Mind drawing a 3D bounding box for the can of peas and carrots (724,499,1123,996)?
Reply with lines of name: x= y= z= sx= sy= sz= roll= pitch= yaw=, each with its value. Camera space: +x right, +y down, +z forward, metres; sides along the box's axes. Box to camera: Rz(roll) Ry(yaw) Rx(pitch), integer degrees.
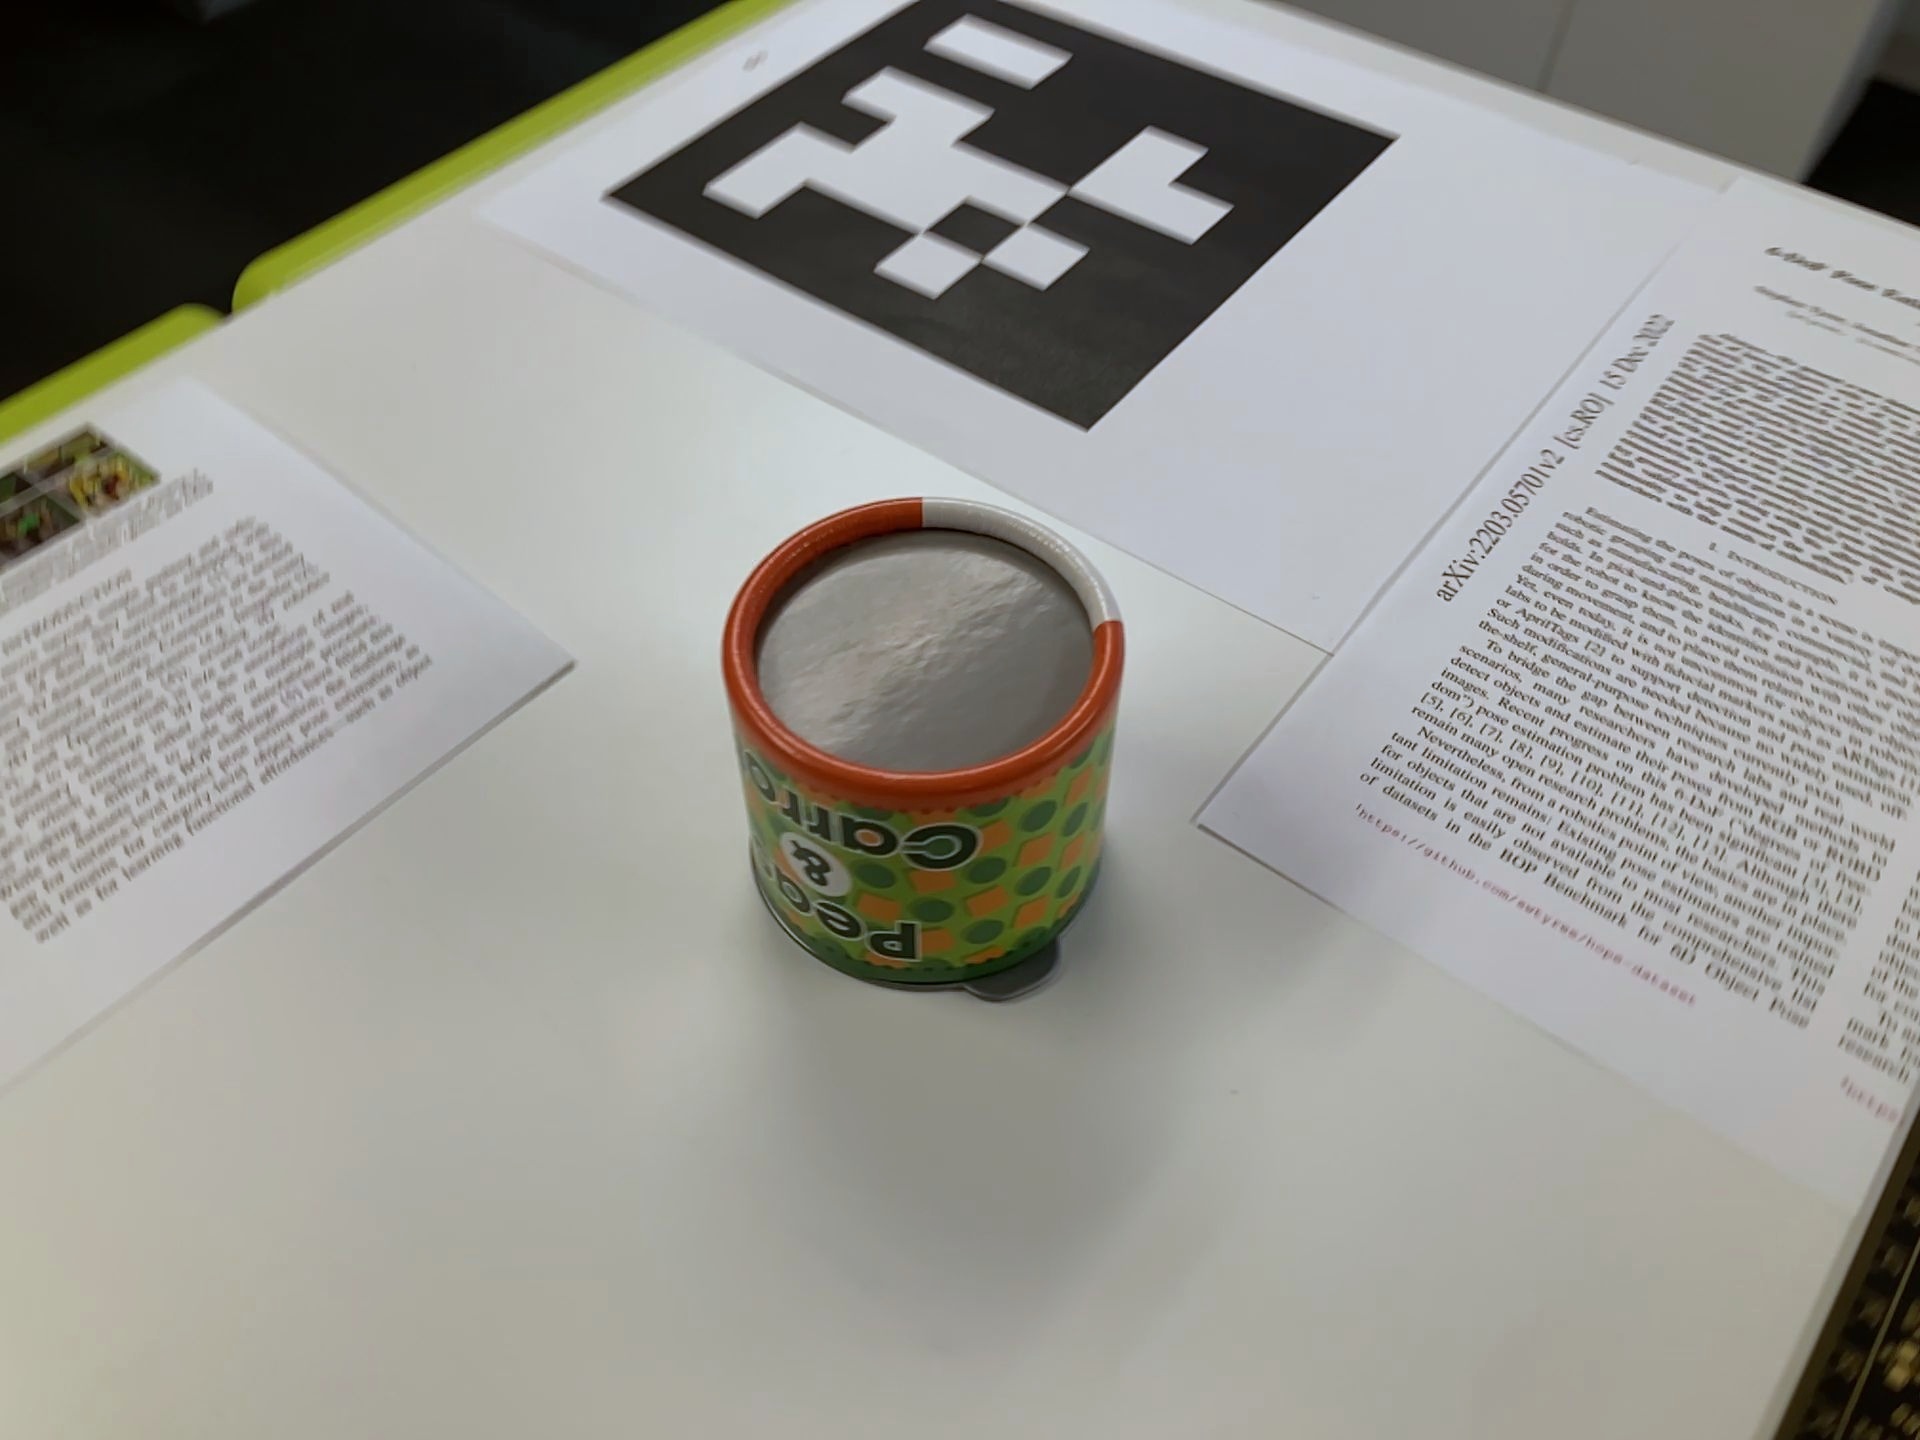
can of peas and carrots: x=-0.007 y=0.005 z=0.279 sx=0.071 sy=0.059 sz=0.071 roll=0 pitch=50 yaw=0
